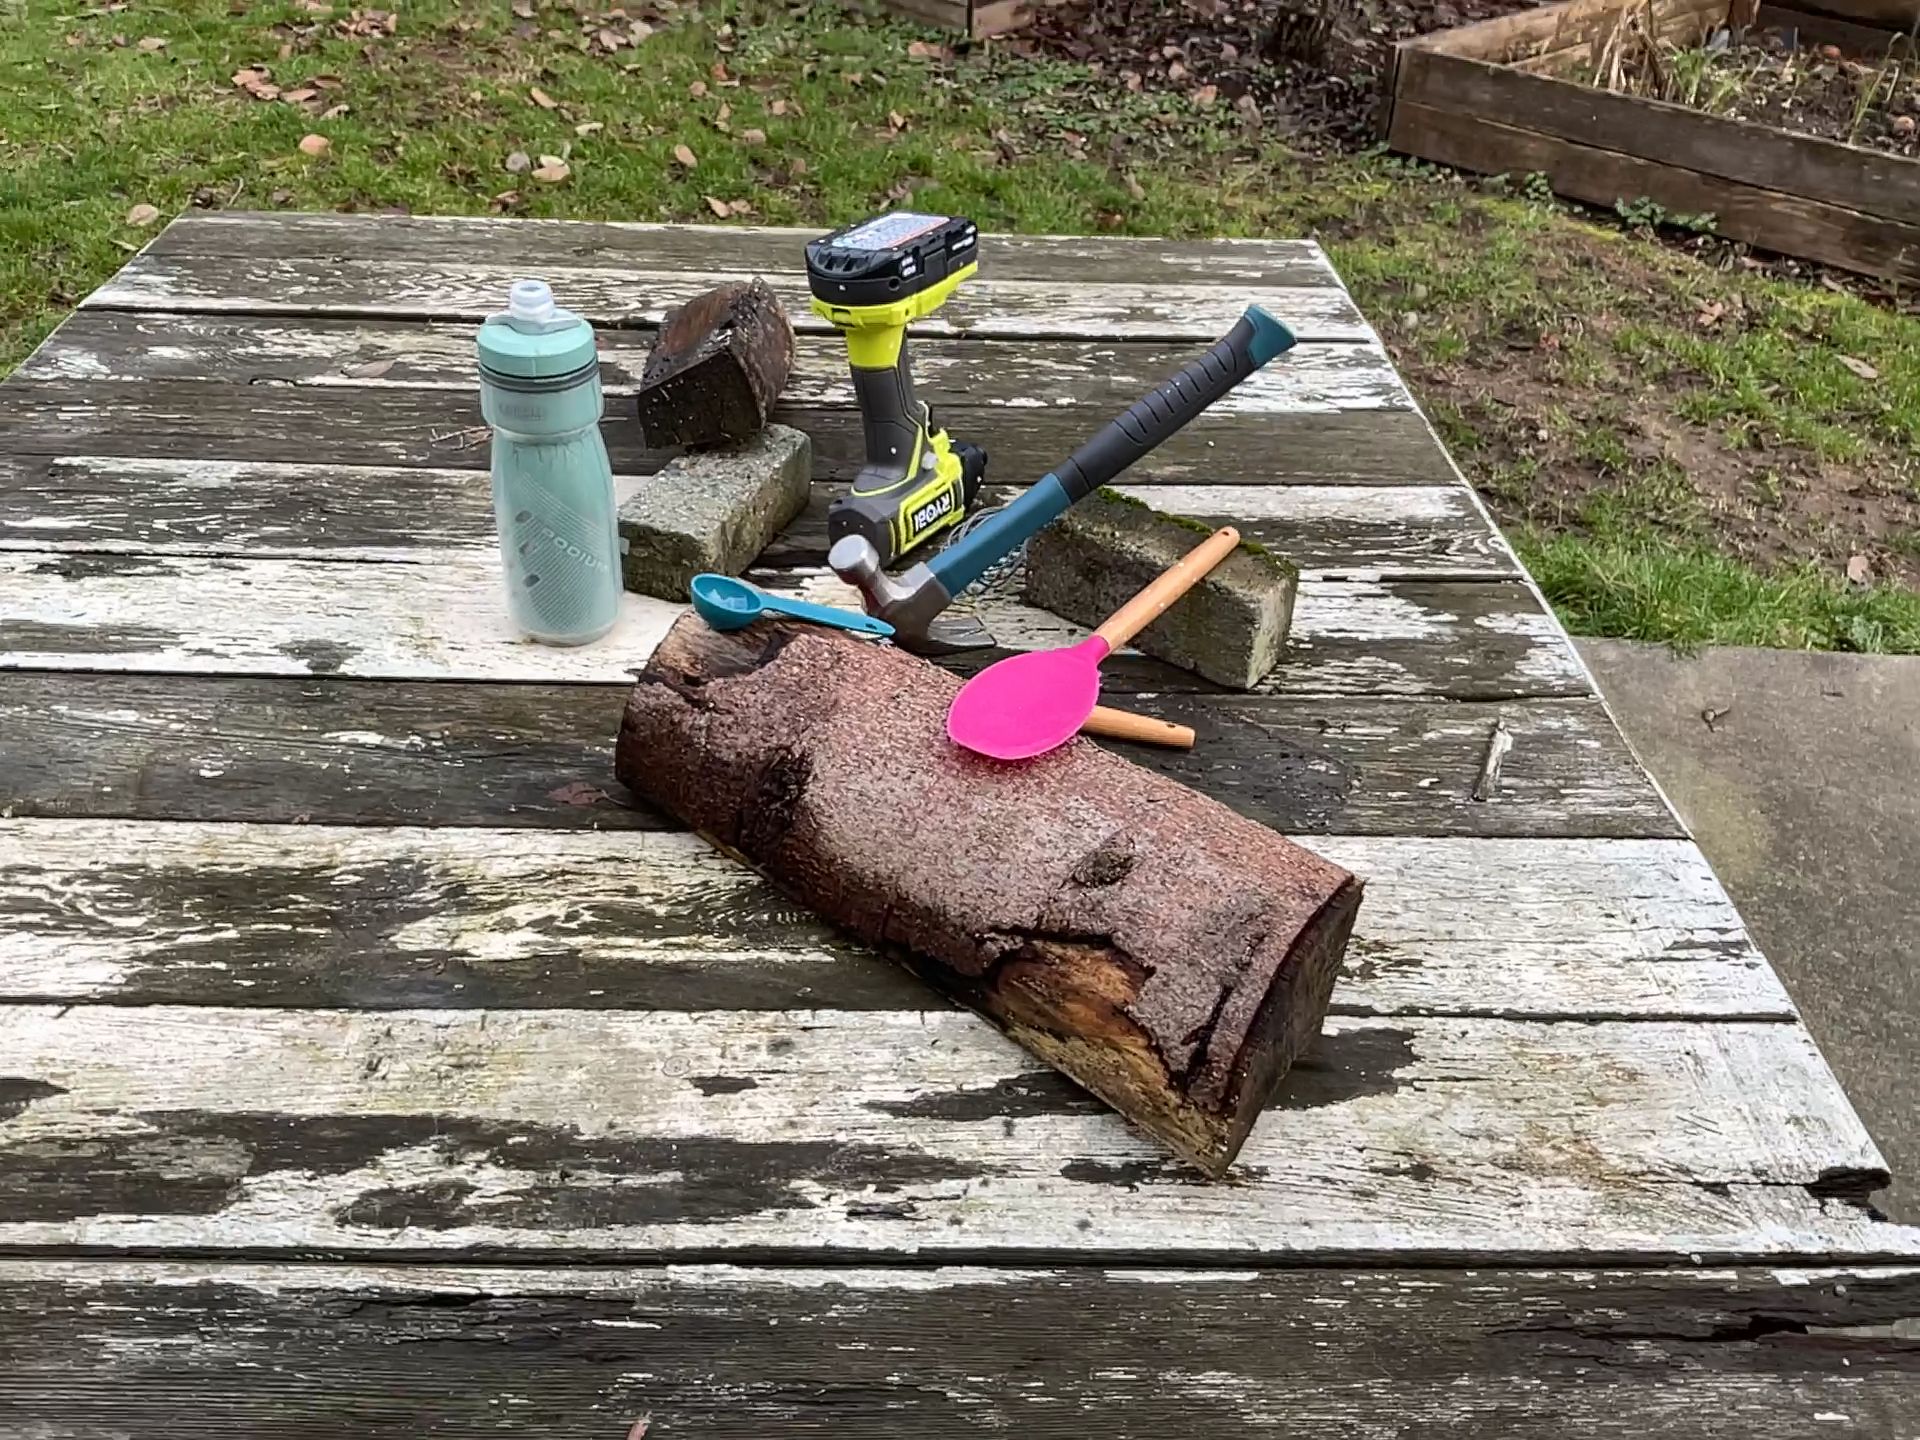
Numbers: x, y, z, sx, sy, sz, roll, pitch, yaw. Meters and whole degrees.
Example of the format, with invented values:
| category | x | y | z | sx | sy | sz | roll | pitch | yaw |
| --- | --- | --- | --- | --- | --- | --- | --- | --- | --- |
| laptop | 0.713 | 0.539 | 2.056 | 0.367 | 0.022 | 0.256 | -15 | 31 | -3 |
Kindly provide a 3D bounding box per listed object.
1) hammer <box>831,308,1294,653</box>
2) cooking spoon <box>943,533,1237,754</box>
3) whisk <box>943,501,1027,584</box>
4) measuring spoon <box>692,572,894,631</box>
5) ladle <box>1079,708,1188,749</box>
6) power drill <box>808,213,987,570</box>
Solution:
| category | x | y | z | sx | sy | sz | roll | pitch | yaw |
| --- | --- | --- | --- | --- | --- | --- | --- | --- | --- |
| hammer | 0.078 | -0.161 | 1.046 | 0.331 | 0.128 | 0.033 | -37 | 46 | 1 |
| cooking spoon | 0.091 | -0.052 | 0.929 | 0.069 | 0.017 | 0.319 | 22 | 36 | 25 |
| whisk | 0.058 | -0.160 | 1.184 | 0.055 | 0.055 | 0.239 | 28 | 39 | 17 |
| measuring spoon | -0.098 | -0.059 | 0.931 | 0.128 | 0.021 | 0.042 | 10 | 30 | -30 |
| ladle | -0.010 | -0.022 | 1.017 | 0.315 | 0.031 | 0.069 | 13 | 35 | 9 |
| power drill | -0.036 | -0.241 | 1.148 | 0.080 | 0.223 | 0.171 | 15 | 36 | 28 |
